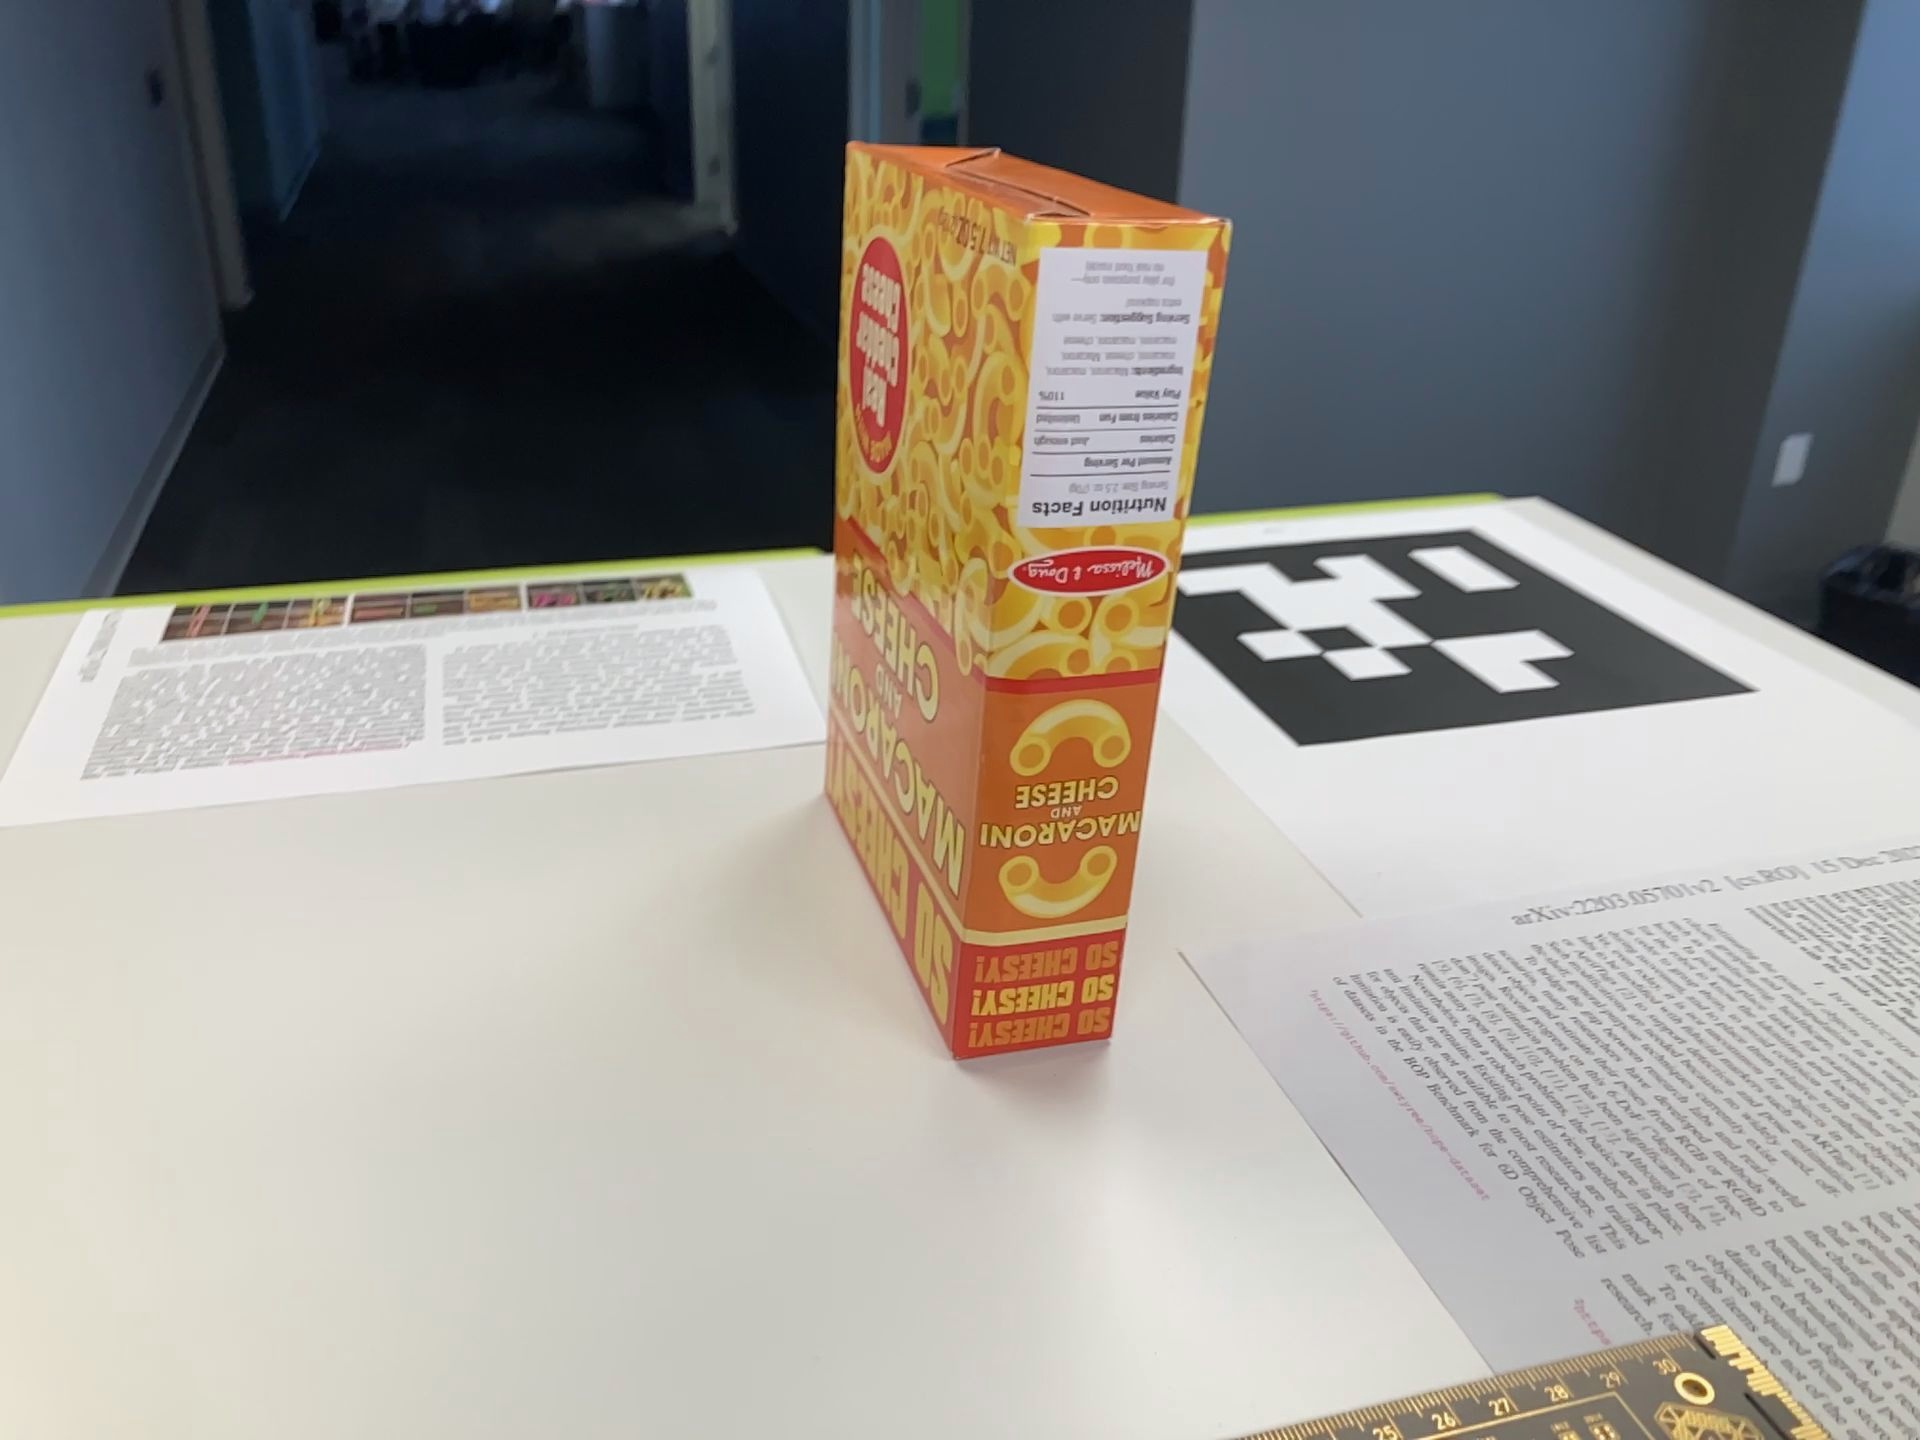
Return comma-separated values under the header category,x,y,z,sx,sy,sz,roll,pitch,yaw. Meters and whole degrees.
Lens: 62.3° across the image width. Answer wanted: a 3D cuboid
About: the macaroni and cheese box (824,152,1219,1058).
category,x,y,z,sx,sy,sz,roll,pitch,yaw
macaroni and cheese box,0.004,-0.031,0.349,0.040,0.166,0.124,-3,24,-17
